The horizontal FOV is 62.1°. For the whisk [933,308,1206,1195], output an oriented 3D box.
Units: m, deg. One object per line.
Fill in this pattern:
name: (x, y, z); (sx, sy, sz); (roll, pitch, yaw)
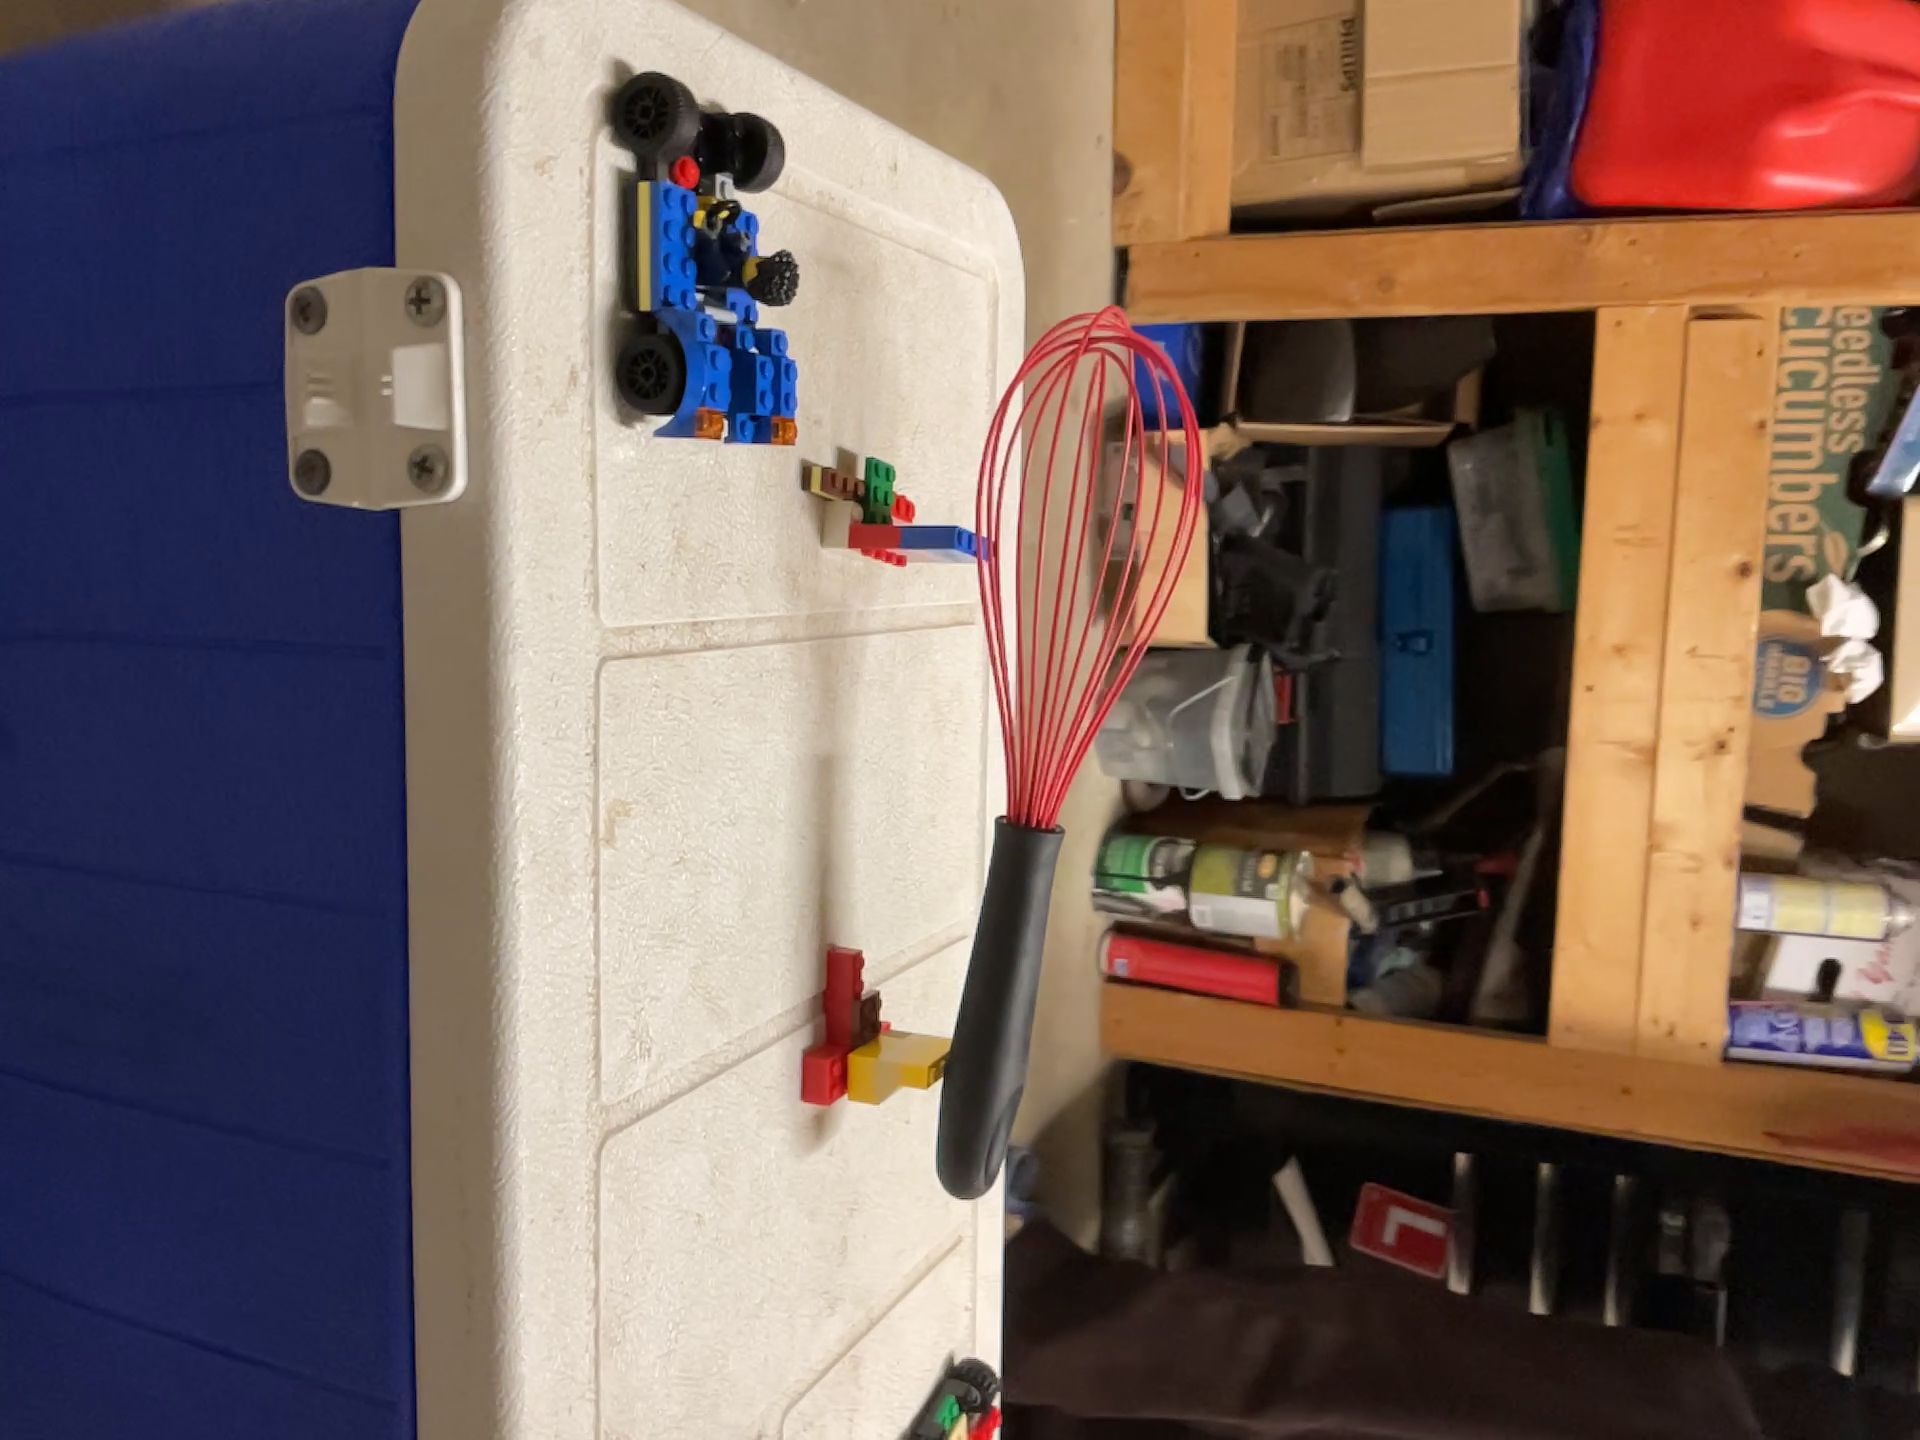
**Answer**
whisk: (0.026, 0.015, 0.521); (0.073, 0.073, 0.295); (-11, 112, -69)
